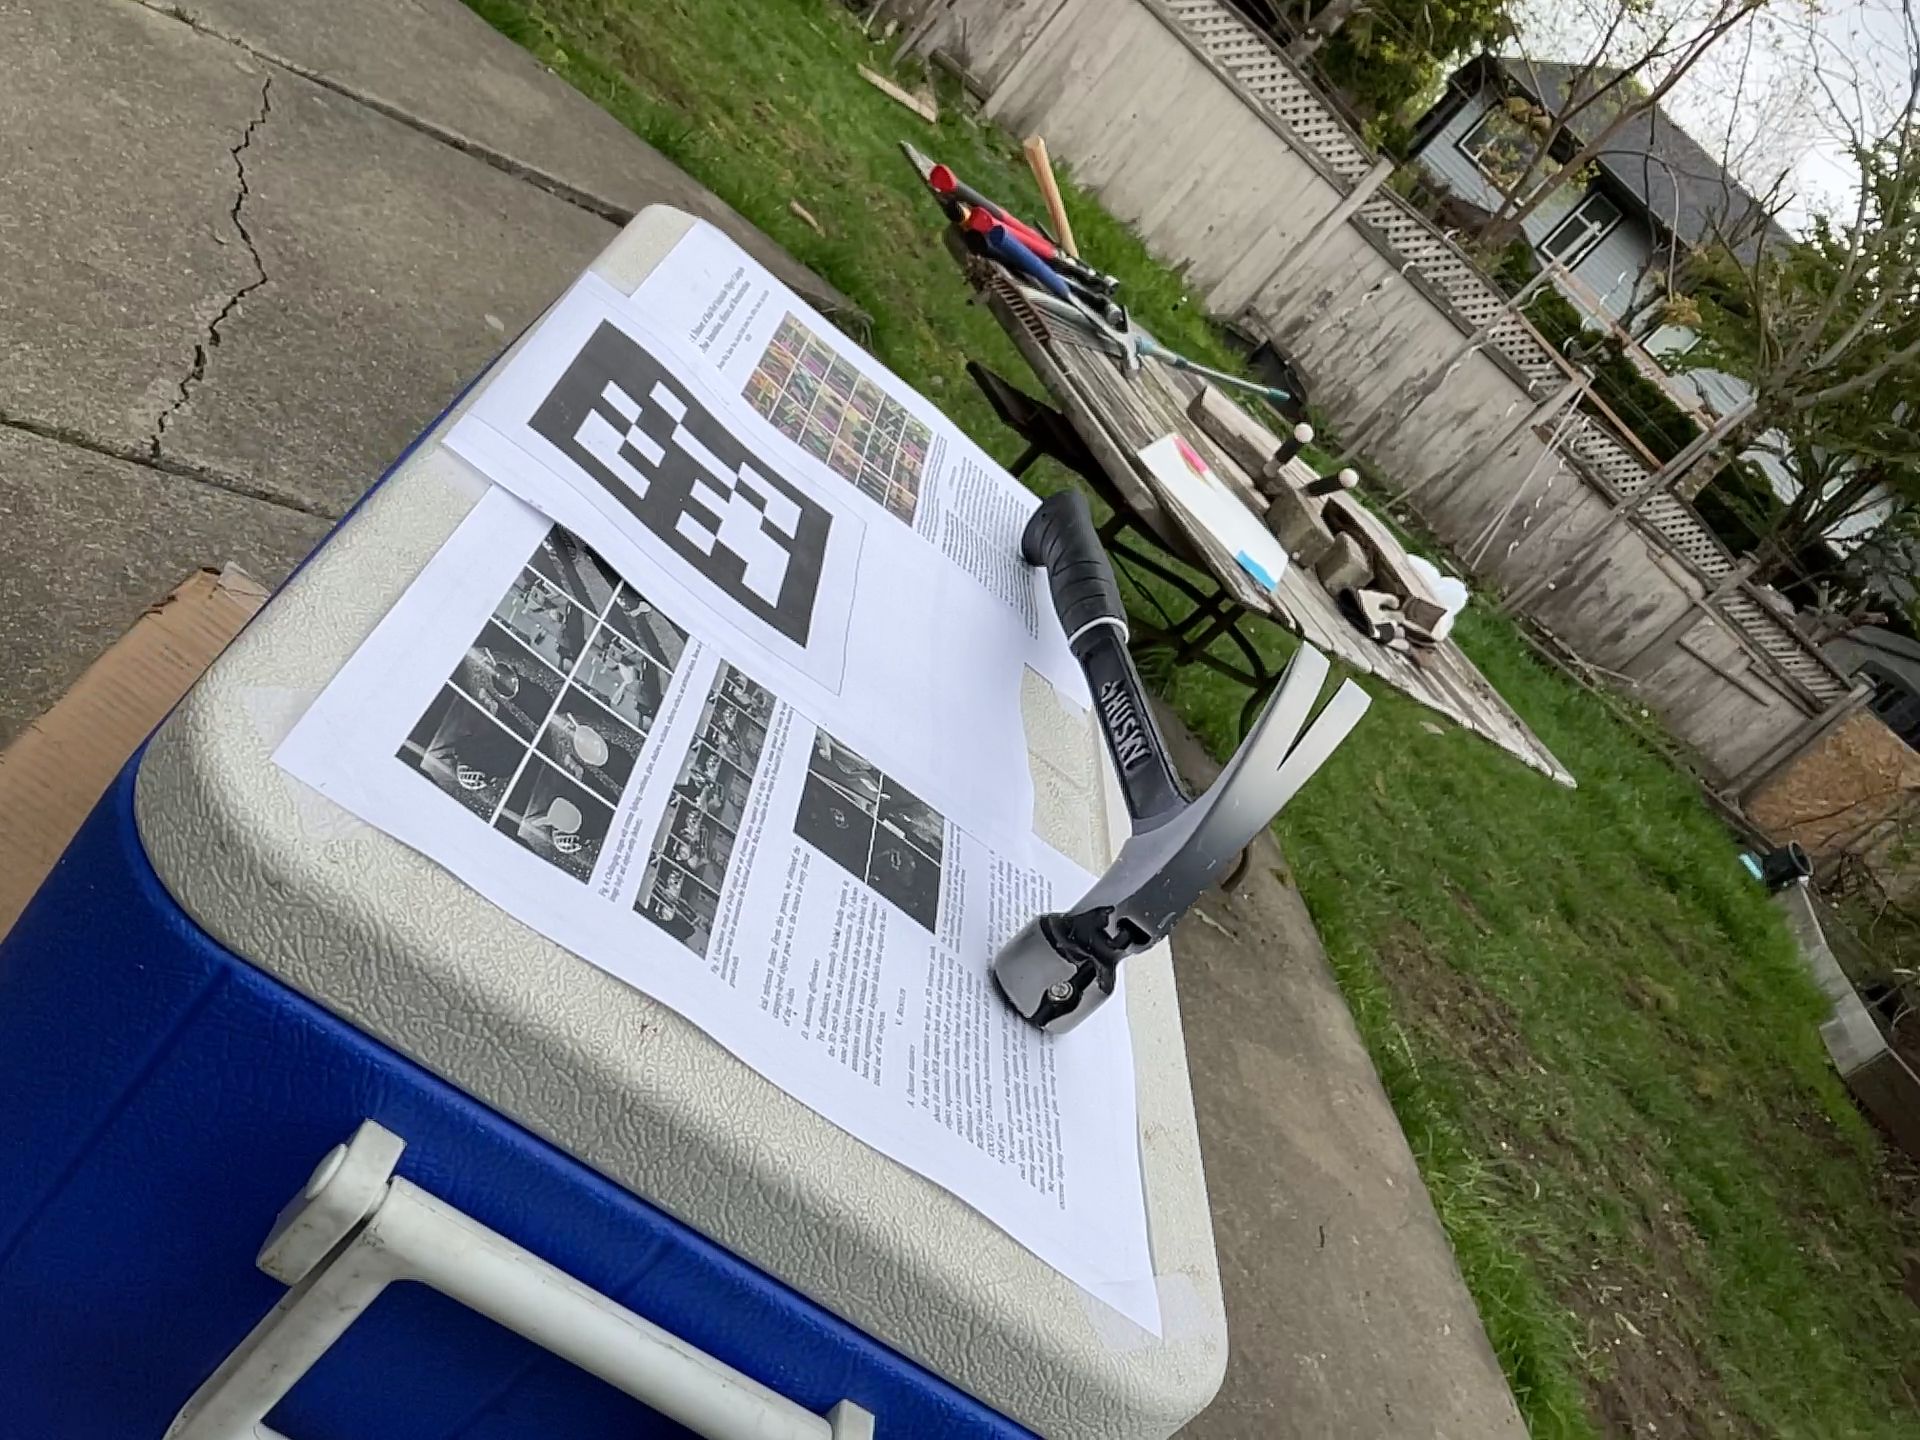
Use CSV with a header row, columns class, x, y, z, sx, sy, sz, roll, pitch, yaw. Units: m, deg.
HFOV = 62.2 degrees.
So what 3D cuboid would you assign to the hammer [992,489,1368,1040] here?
class,x,y,z,sx,sy,sz,roll,pitch,yaw
hammer,0.063,-0.031,0.681,0.036,0.149,0.409,39,17,-17
